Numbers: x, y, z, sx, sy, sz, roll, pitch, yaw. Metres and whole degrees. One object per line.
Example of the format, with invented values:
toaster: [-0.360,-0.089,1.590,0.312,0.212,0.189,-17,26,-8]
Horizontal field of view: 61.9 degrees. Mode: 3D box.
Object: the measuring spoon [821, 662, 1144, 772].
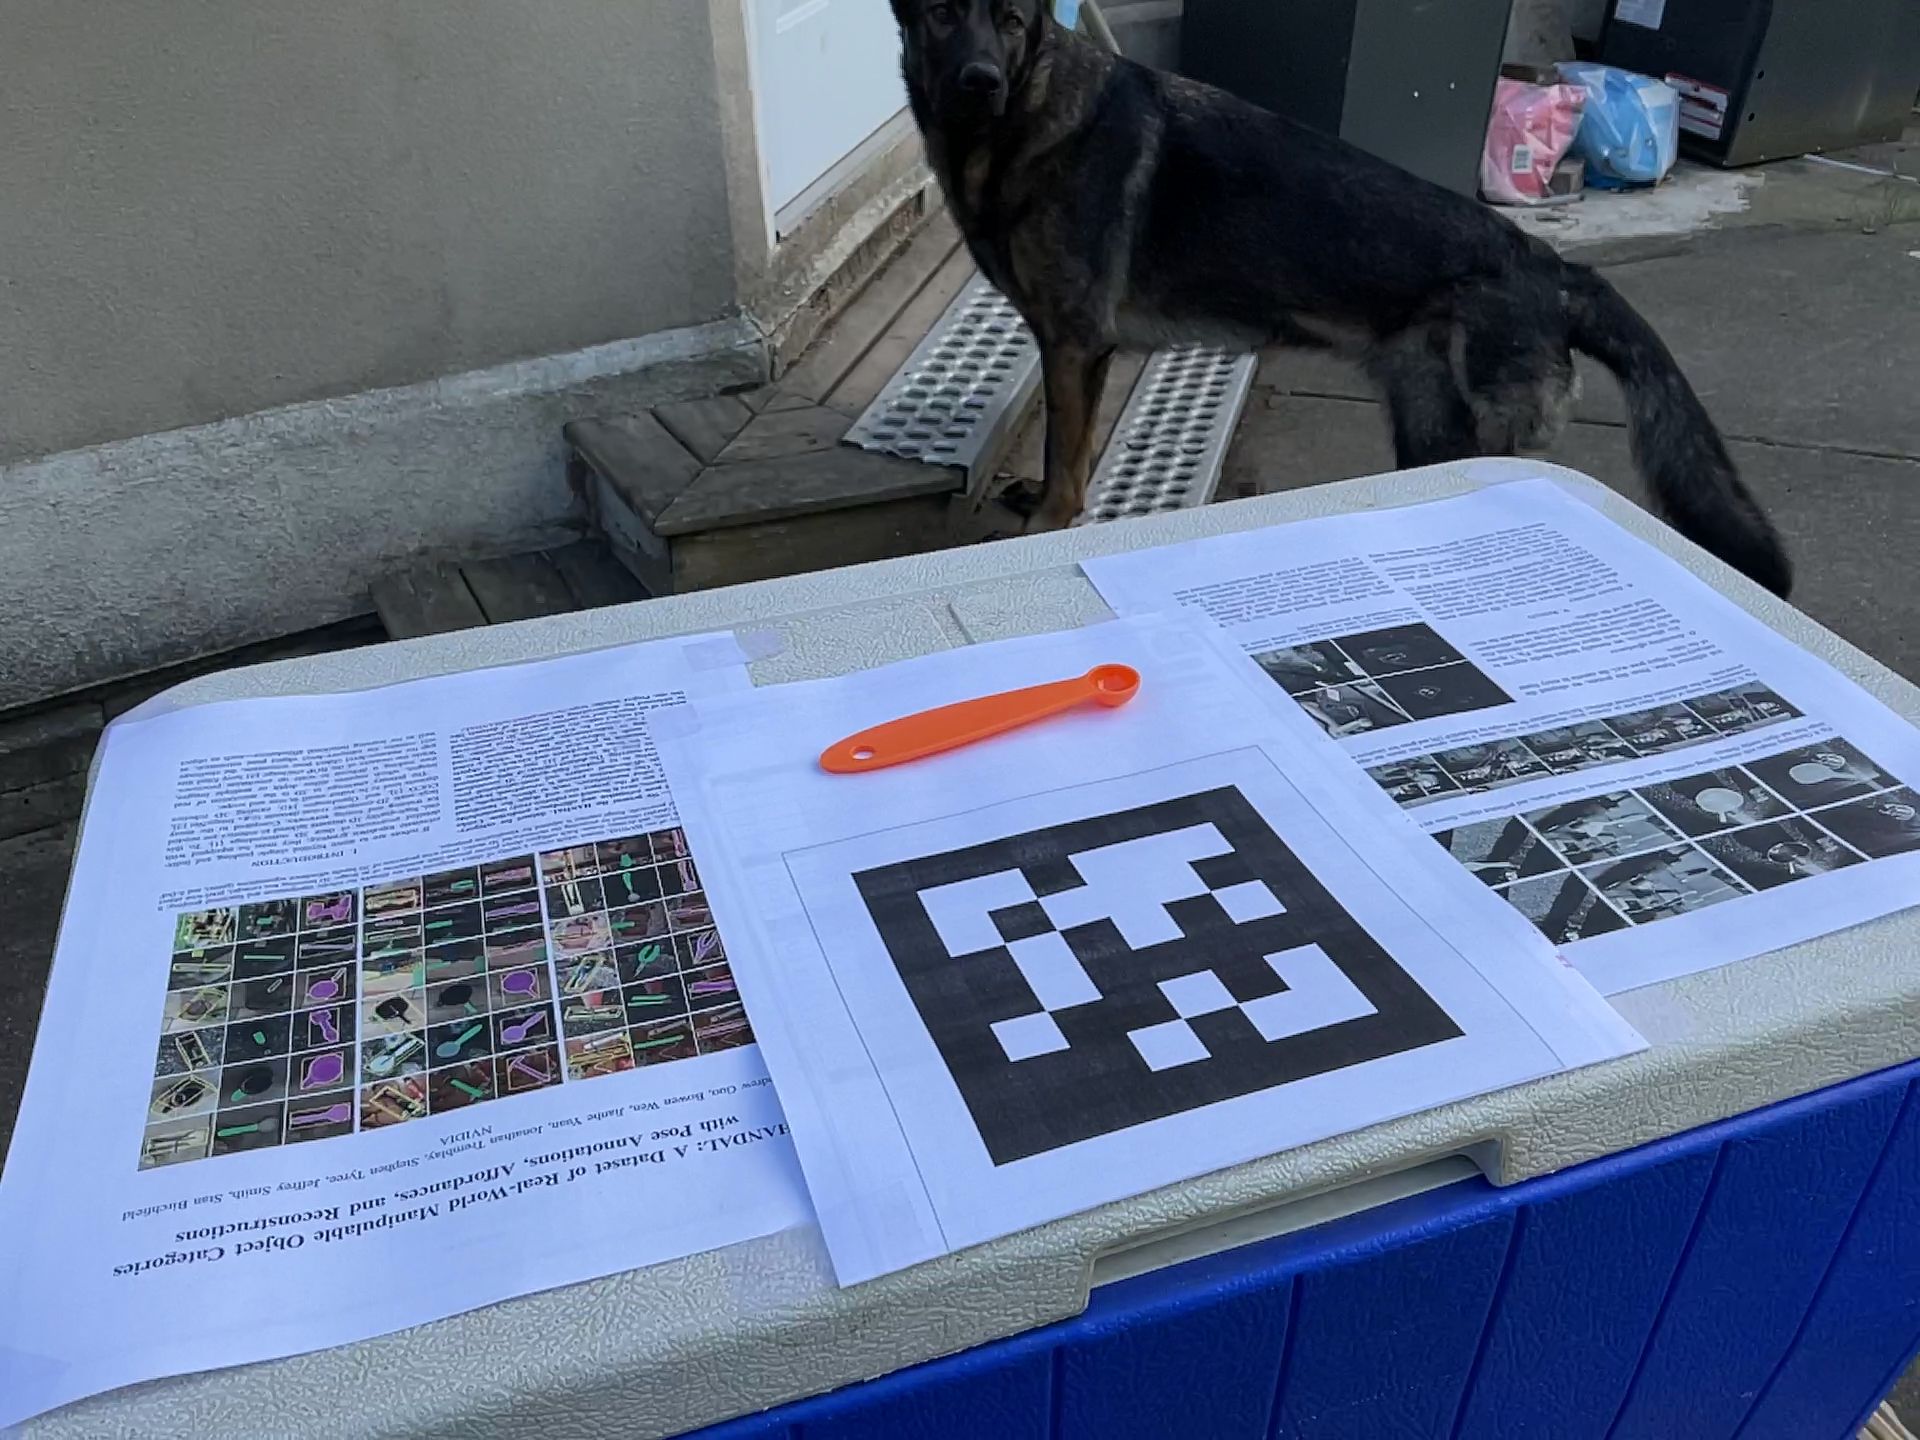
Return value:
measuring spoon: [0.009,0.001,0.547,0.117,0.011,0.021,-16,36,-14]
